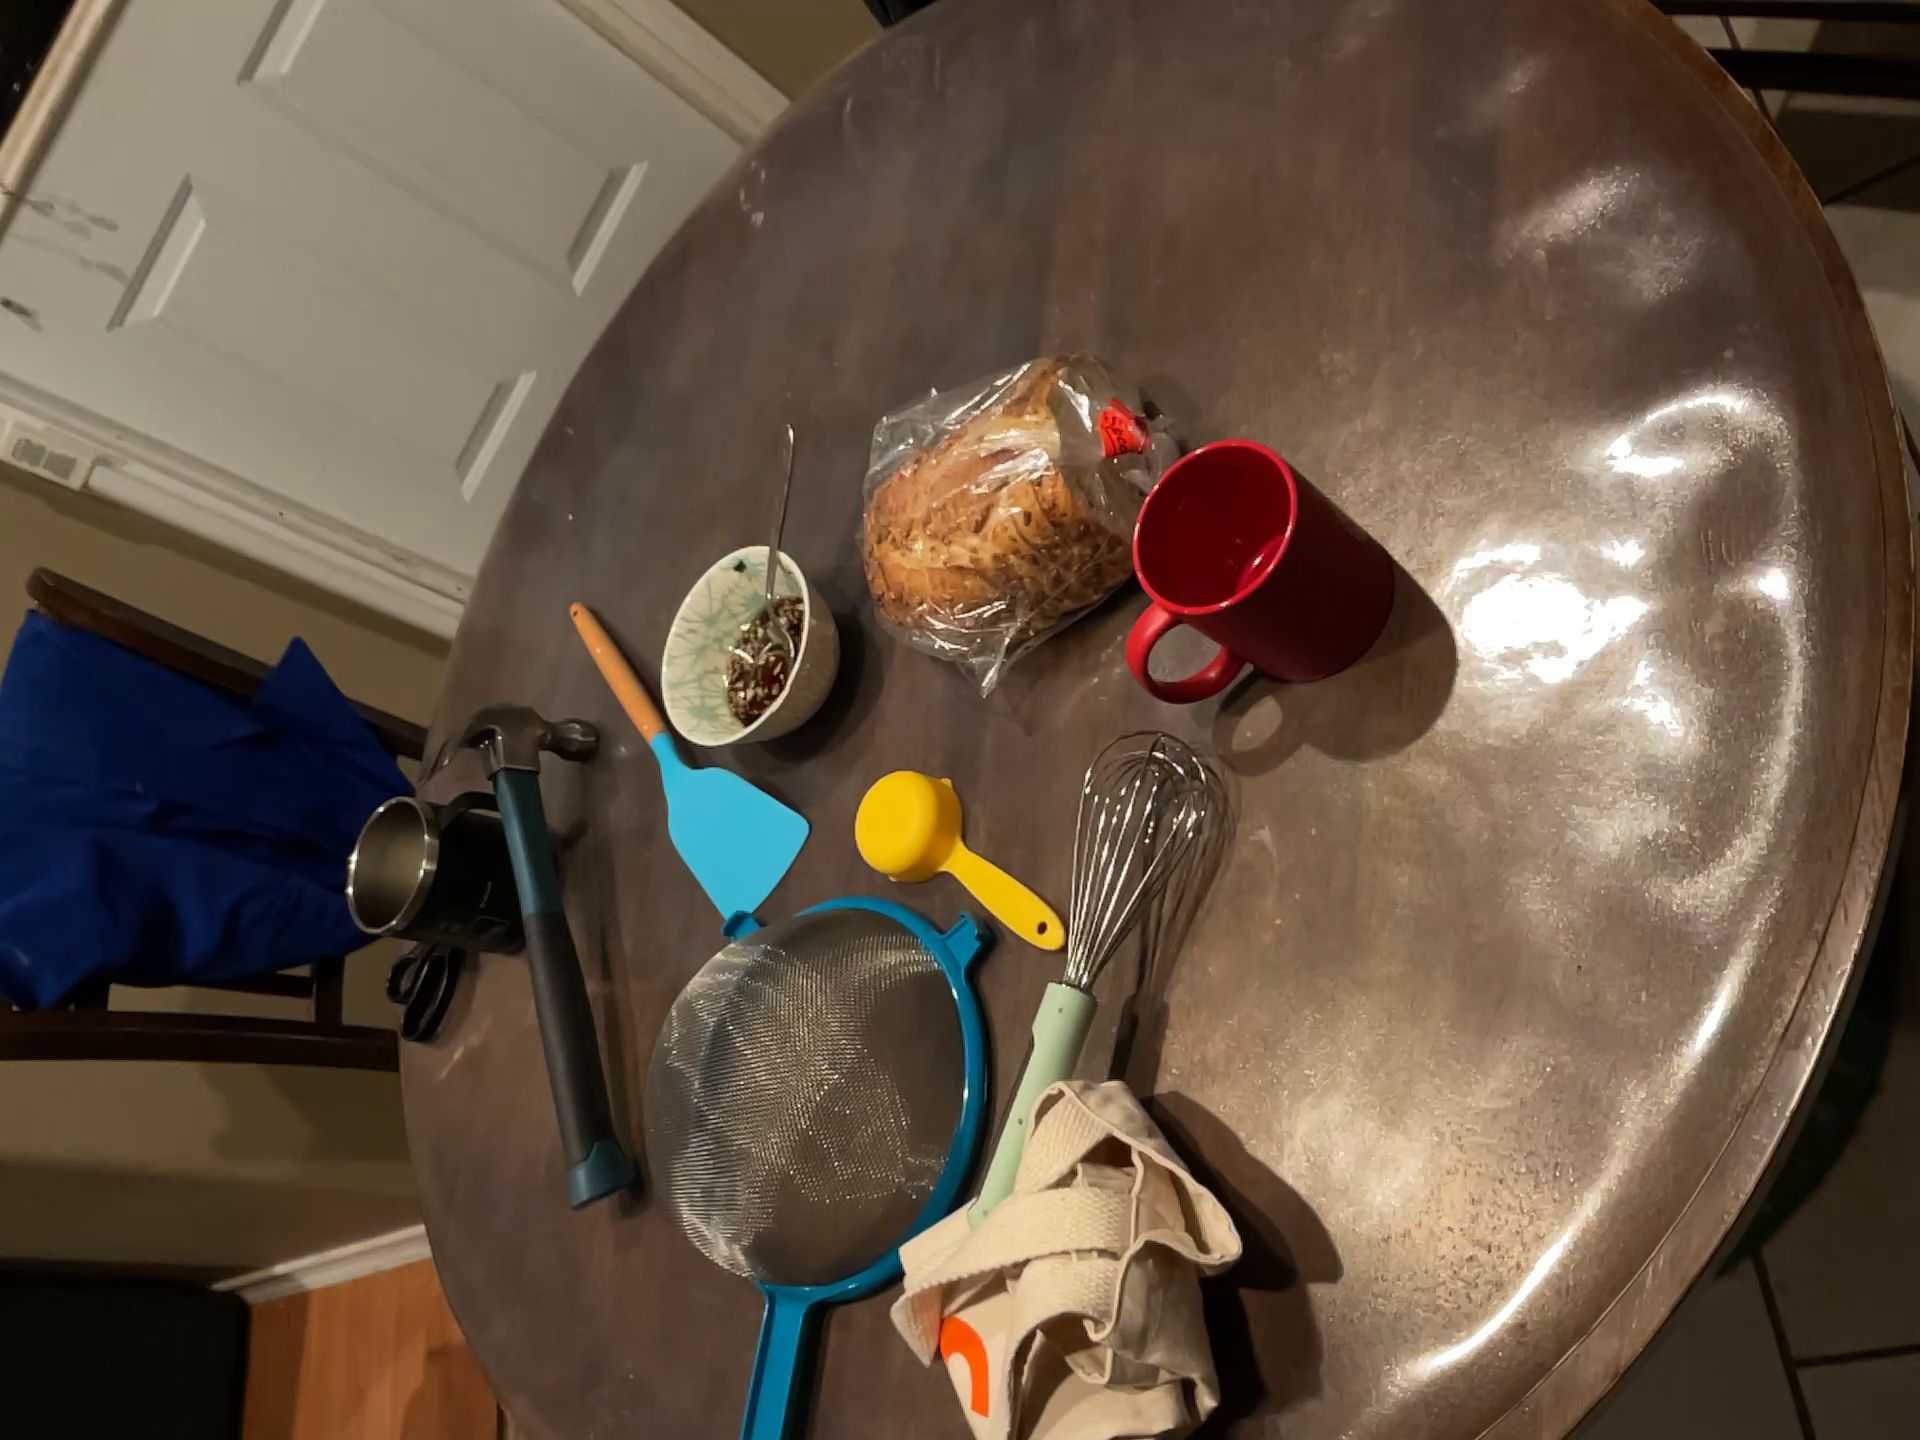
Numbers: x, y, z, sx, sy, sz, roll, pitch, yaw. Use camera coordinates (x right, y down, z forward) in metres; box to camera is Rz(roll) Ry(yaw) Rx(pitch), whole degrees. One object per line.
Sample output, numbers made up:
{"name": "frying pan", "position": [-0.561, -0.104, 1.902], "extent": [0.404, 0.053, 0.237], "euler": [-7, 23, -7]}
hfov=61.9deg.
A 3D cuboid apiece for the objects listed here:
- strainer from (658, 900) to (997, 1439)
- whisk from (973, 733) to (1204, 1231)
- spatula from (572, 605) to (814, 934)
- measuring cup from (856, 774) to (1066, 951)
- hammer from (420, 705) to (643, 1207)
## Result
{"name": "strainer", "position": [-0.103, 0.247, 0.814], "extent": [0.211, 0.095, 0.340], "euler": [-6, 65, 40]}
{"name": "whisk", "position": [0.055, 0.119, 0.739], "extent": [0.059, 0.057, 0.246], "euler": [17, 74, 13]}
{"name": "spatula", "position": [-0.193, 0.009, 1.040], "extent": [0.082, 0.044, 0.318], "euler": [-54, 43, 12]}
{"name": "measuring cup", "position": [-0.002, 0.076, 0.837], "extent": [0.156, 0.029, 0.062], "euler": [34, 97, 45]}
{"name": "hammer", "position": [-0.253, 0.136, 0.996], "extent": [0.033, 0.128, 0.331], "euler": [-34, 62, 30]}
